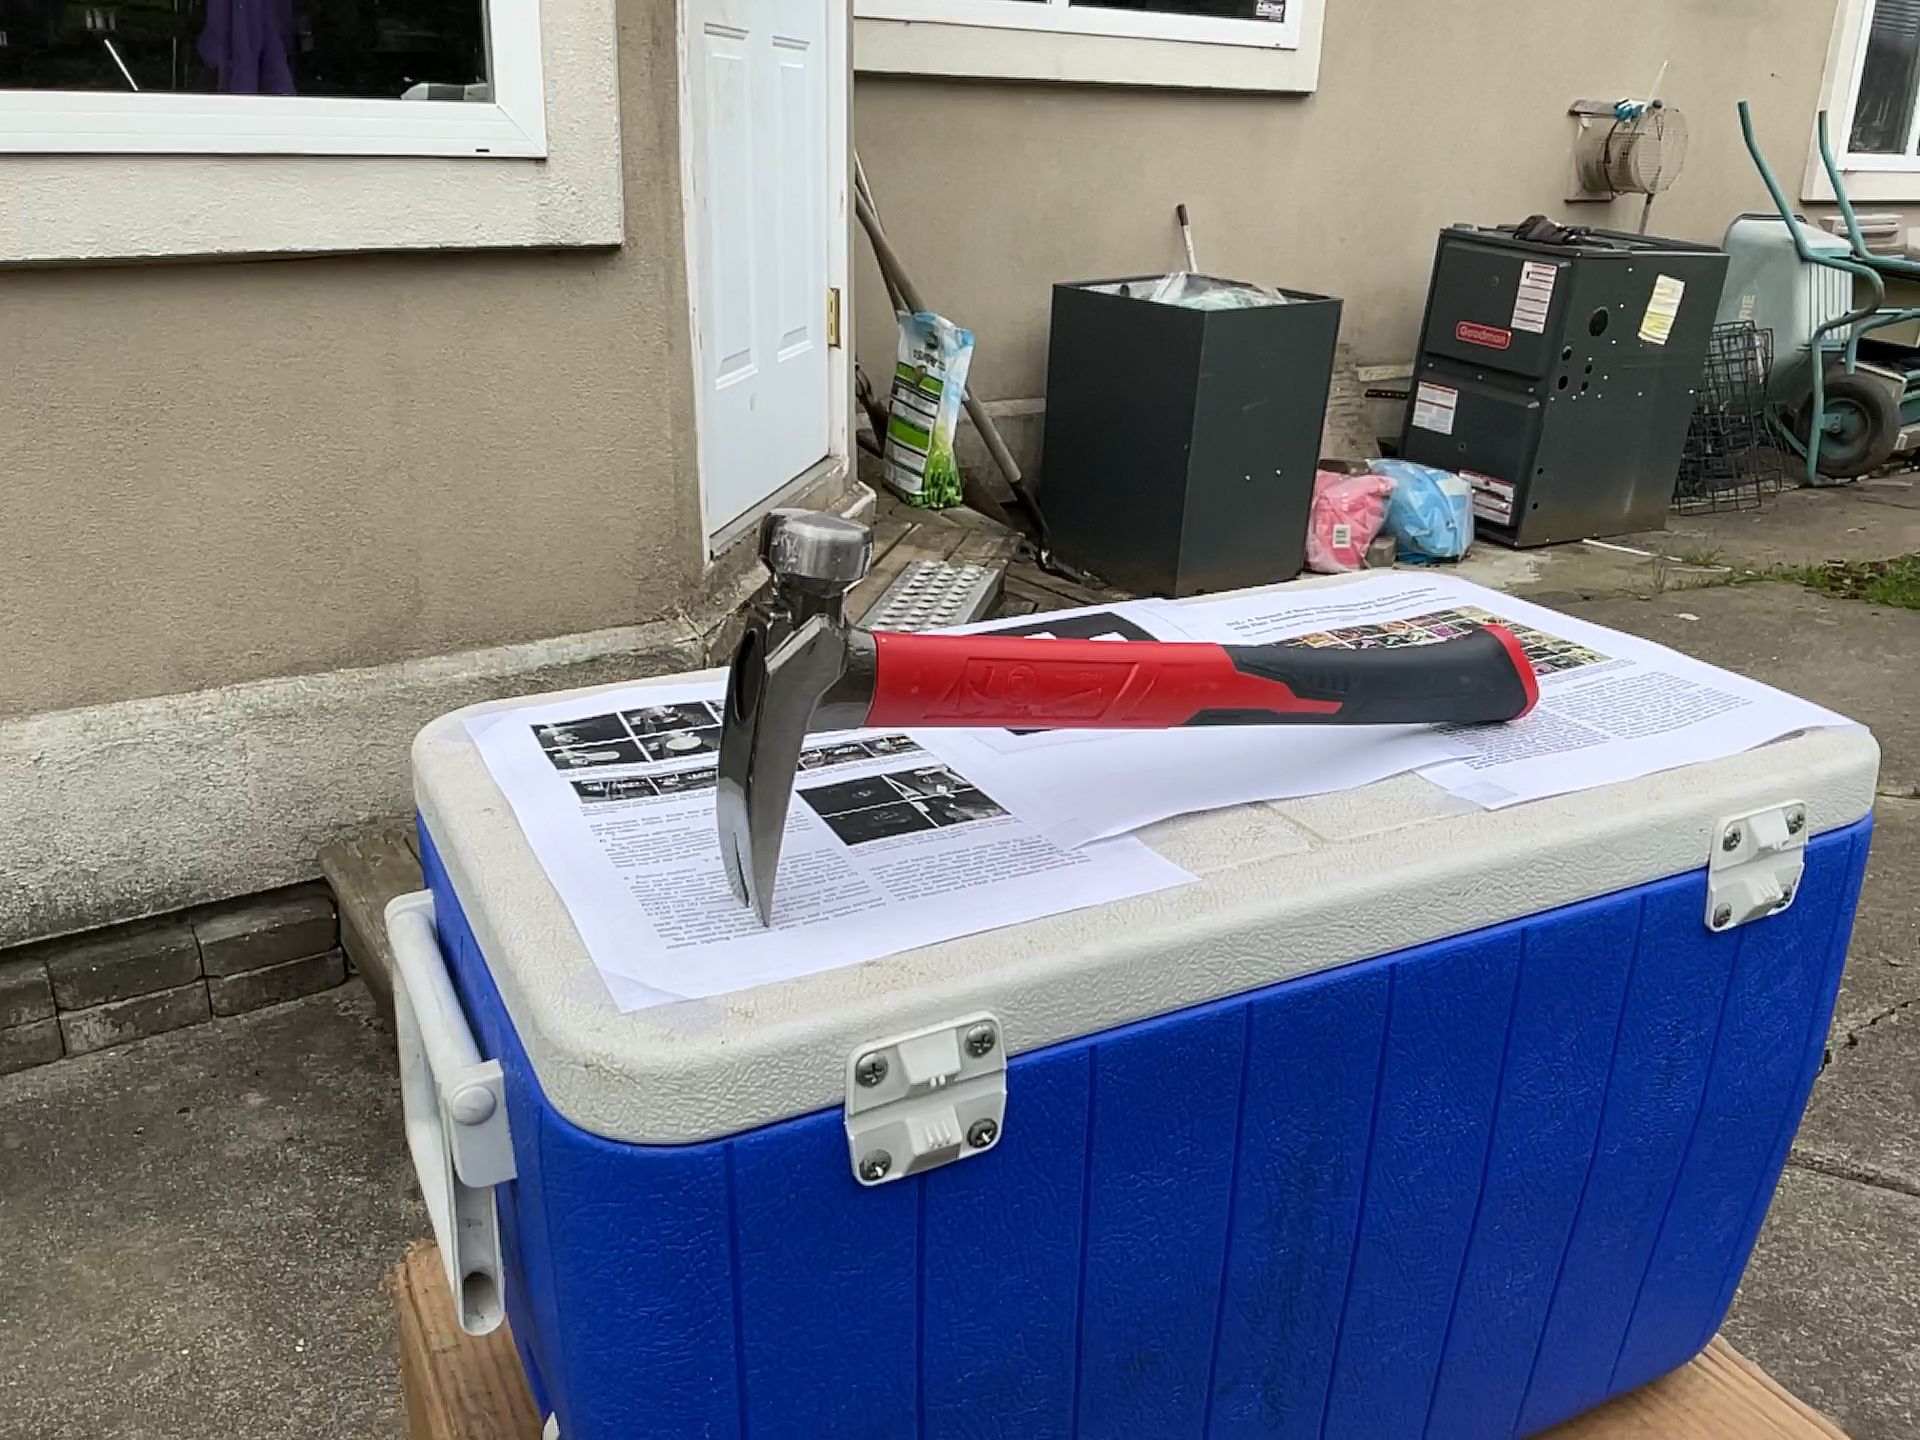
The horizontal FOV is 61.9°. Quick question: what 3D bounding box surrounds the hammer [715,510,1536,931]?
[{"bbox_3d":[0.088,0.001,0.640,0.386,0.143,0.038,0,19,-33],"label":"hammer"}]
